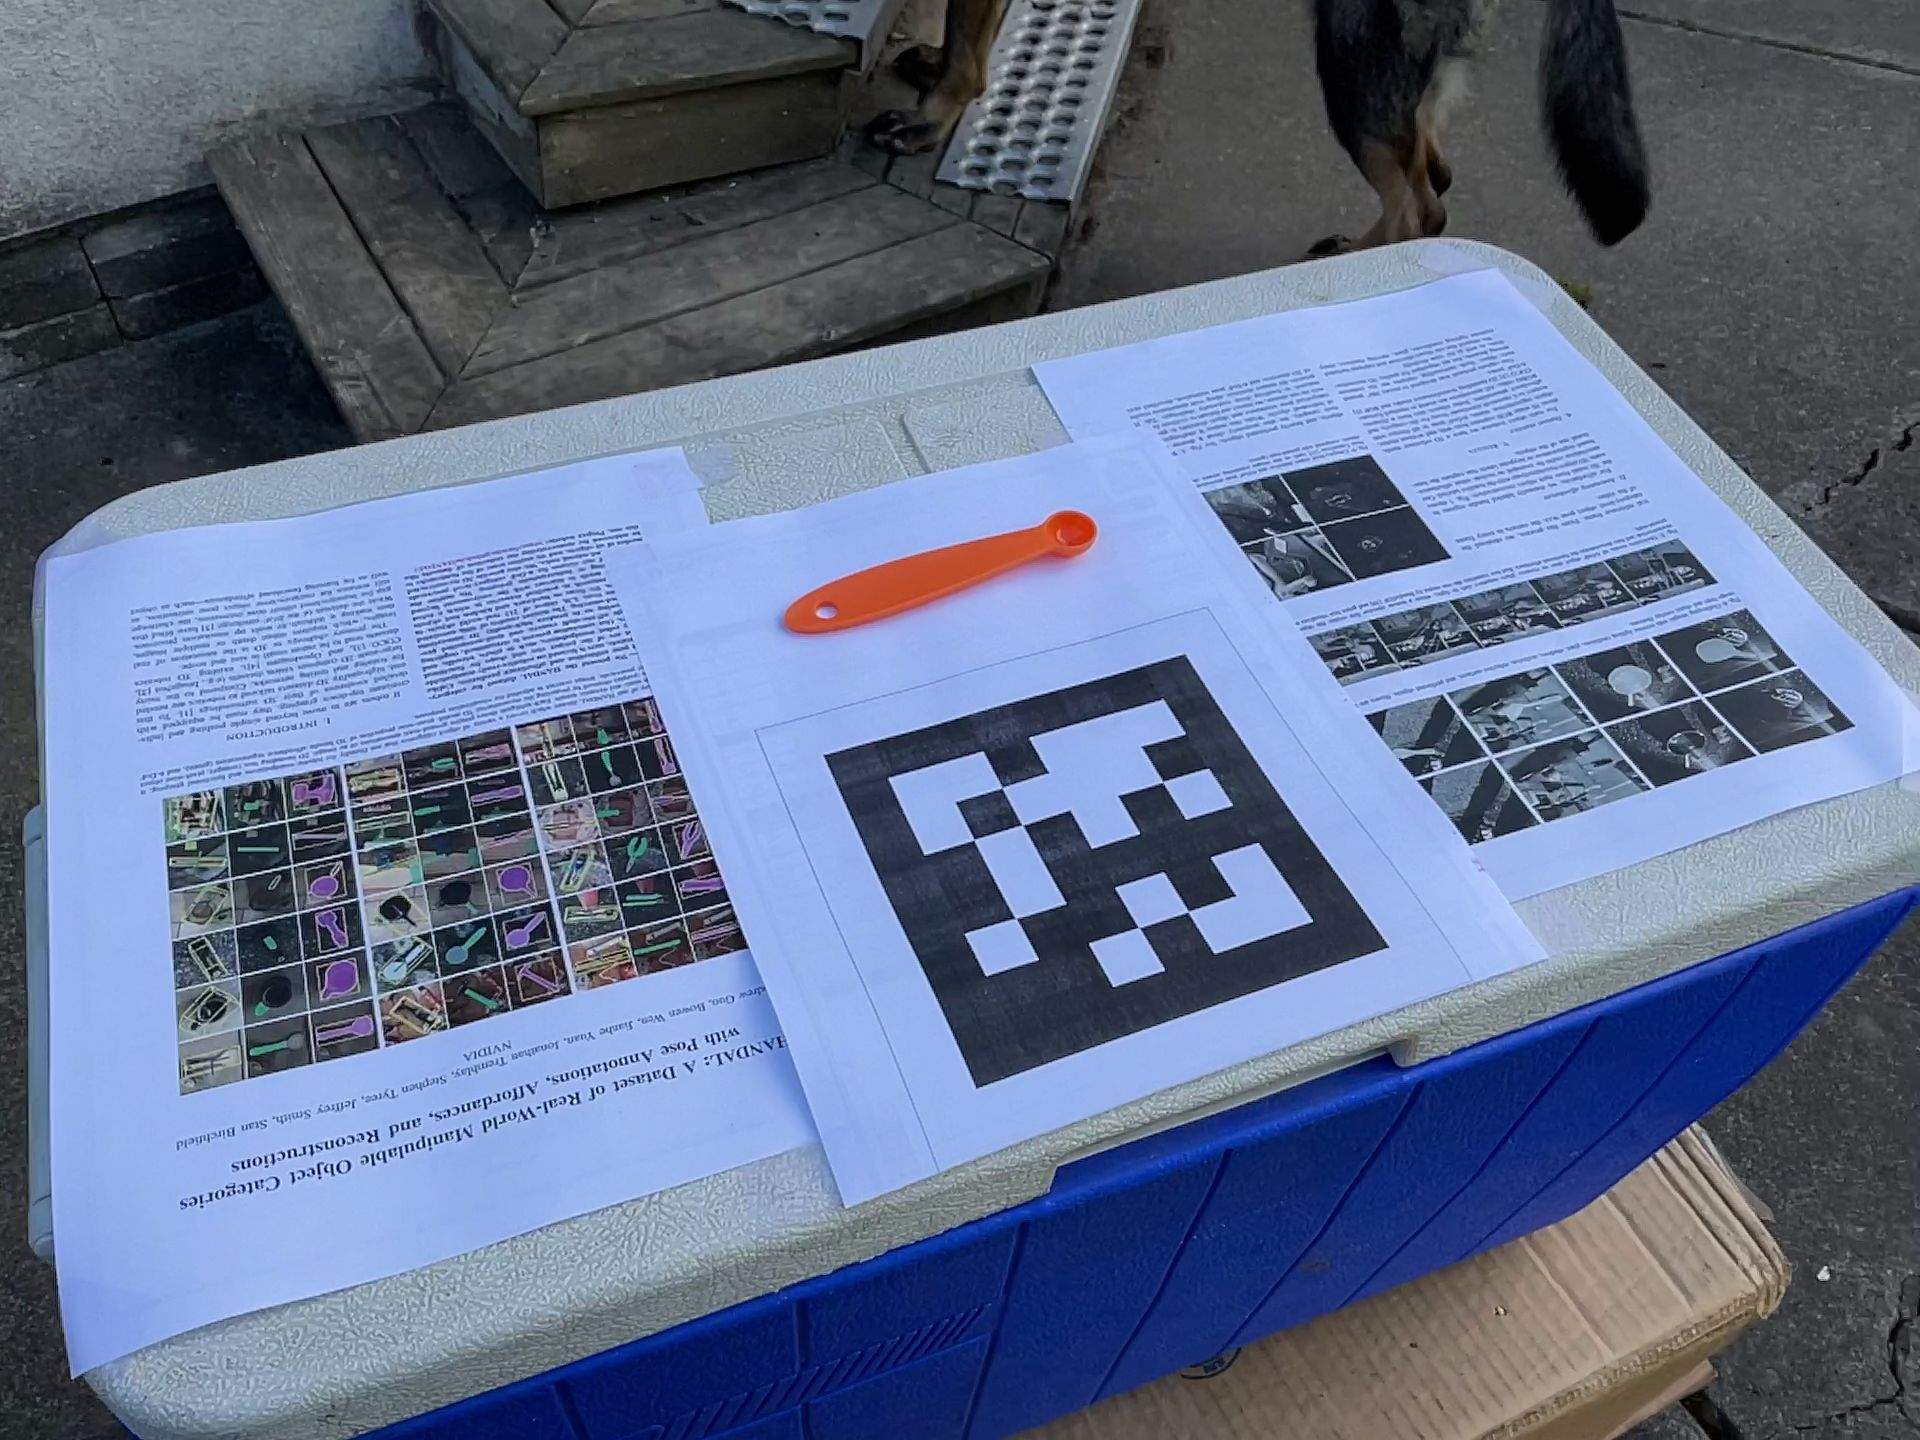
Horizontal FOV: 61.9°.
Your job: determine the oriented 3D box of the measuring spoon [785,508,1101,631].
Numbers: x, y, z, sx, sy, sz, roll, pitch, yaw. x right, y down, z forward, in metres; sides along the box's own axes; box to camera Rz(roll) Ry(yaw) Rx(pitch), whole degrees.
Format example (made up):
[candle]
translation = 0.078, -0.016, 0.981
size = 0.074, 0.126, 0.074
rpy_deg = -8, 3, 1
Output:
[measuring spoon]
translation = -0.005, -0.050, 0.556
size = 0.117, 0.011, 0.021
rpy_deg = -19, 54, -14
